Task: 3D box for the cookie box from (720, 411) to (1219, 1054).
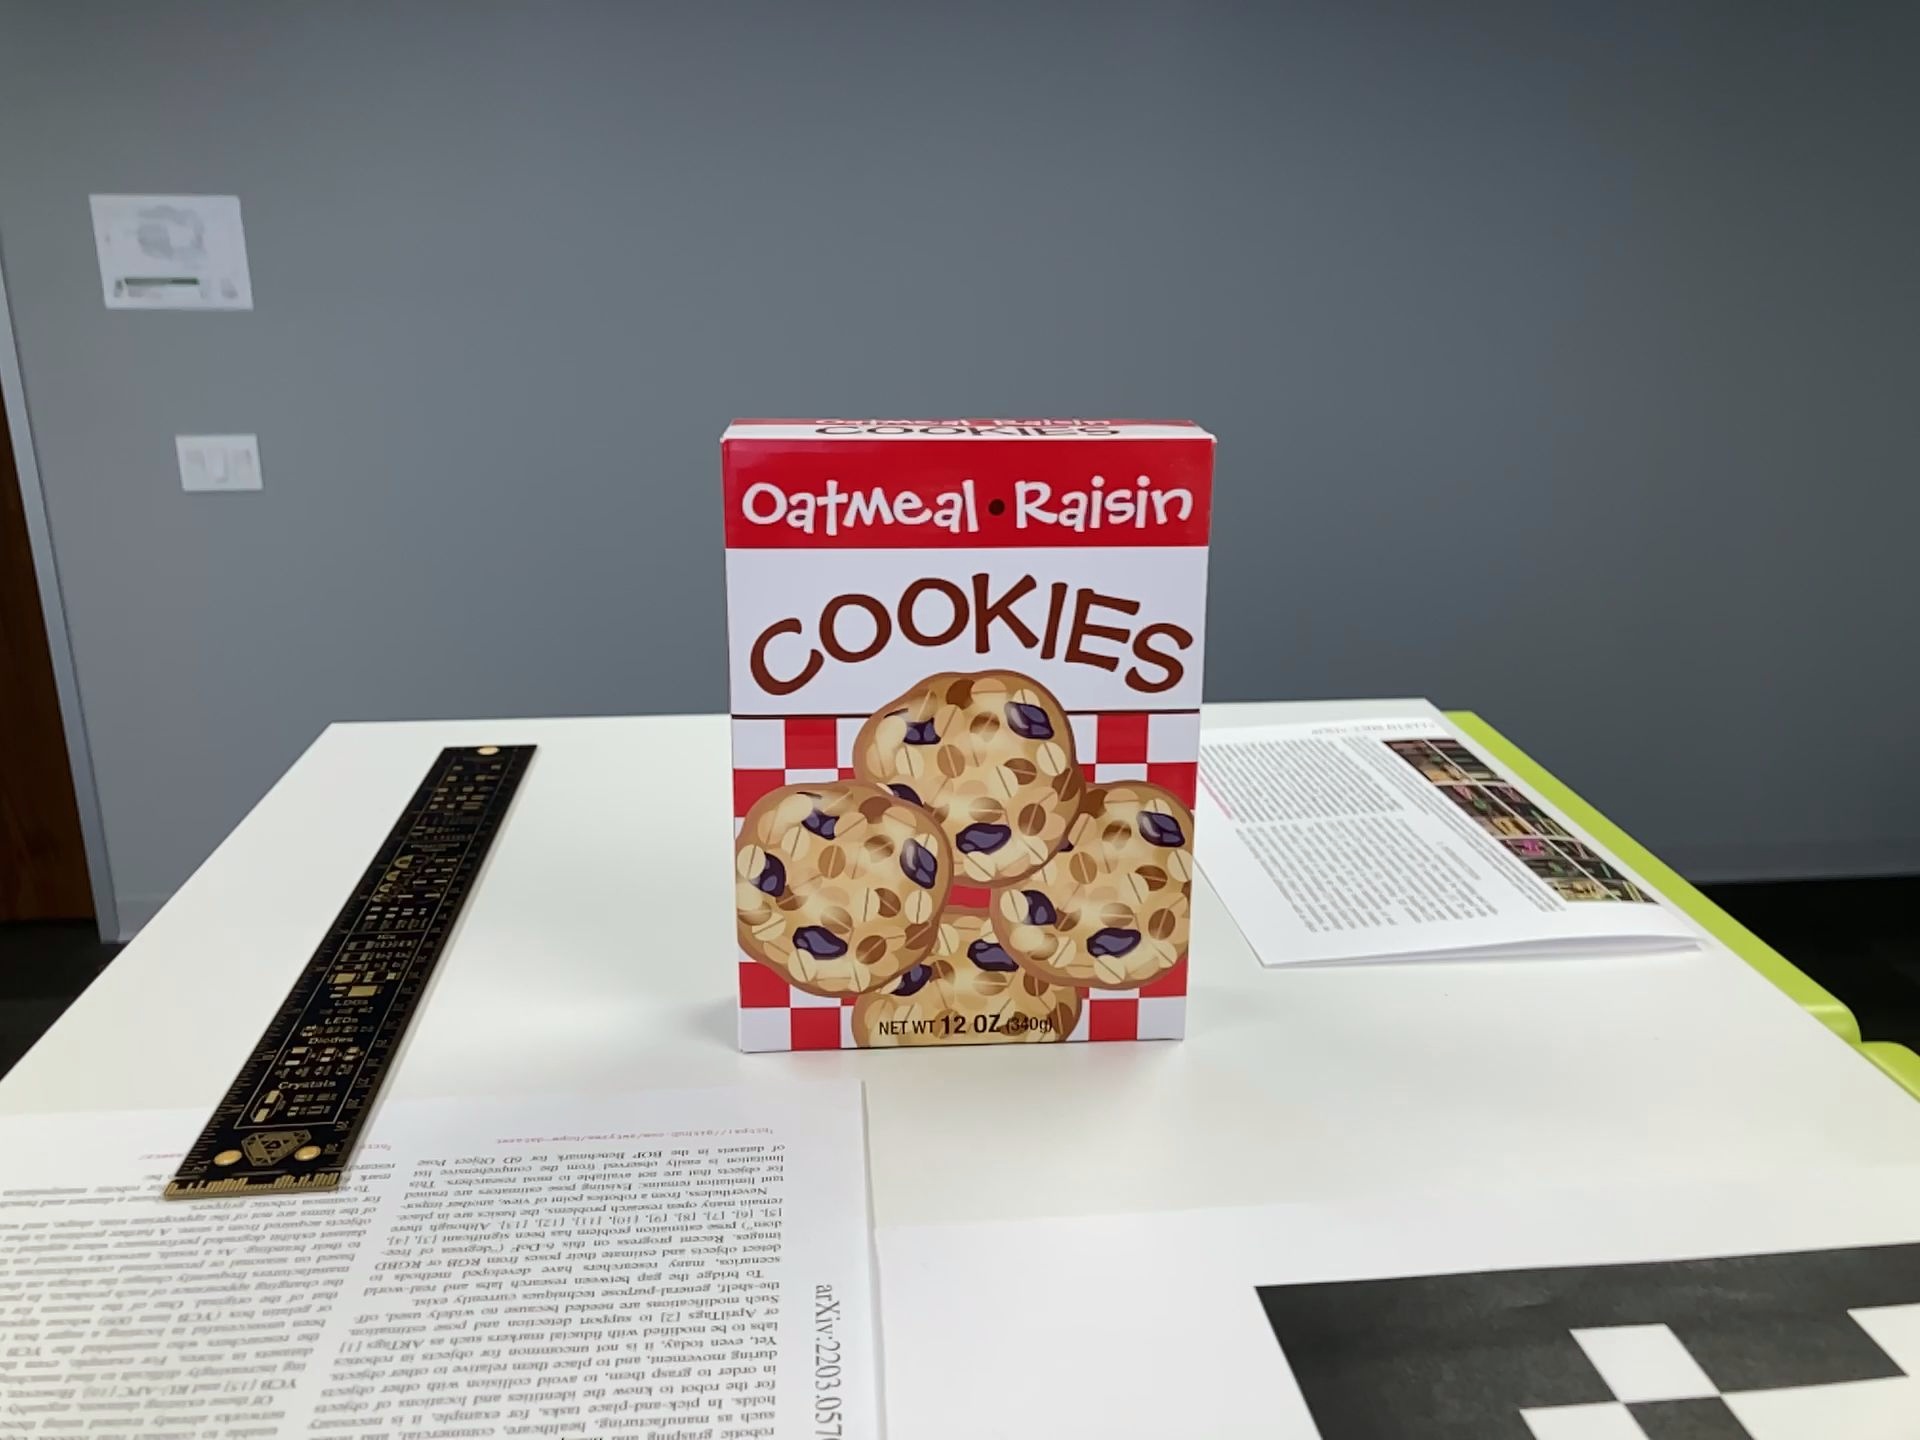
[{"bbox_3d":[0.001,0.004,0.424,0.123,0.167,0.040,-1,17,-4],"label":"cookie box"}]
